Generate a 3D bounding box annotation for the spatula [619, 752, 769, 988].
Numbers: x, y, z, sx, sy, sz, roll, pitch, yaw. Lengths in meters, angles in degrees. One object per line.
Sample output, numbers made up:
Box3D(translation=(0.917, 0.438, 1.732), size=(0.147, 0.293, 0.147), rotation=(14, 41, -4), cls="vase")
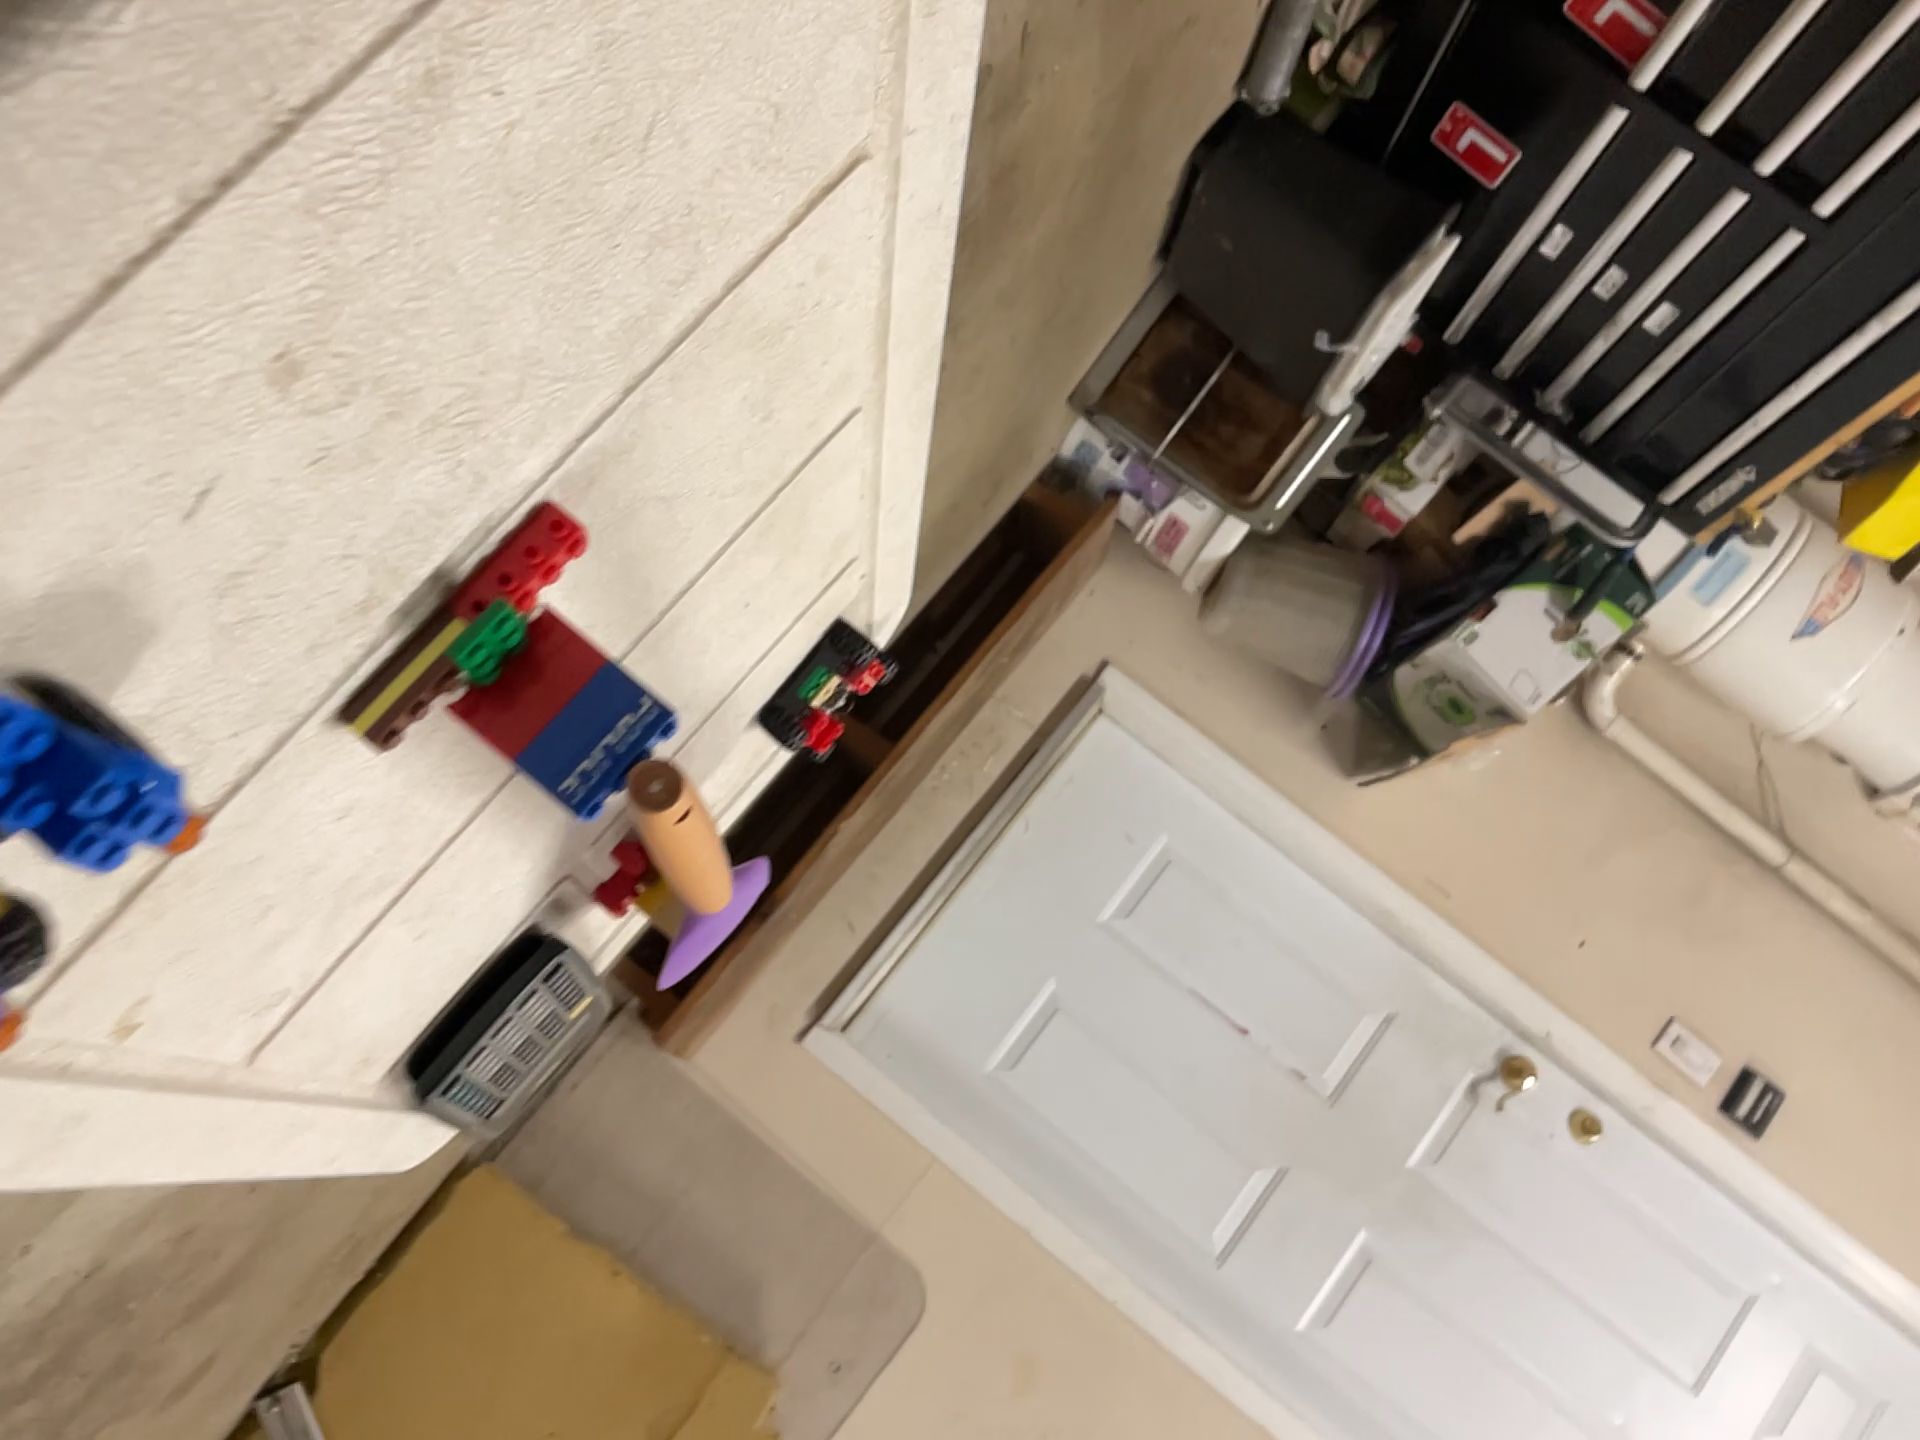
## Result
Box3D(translation=(-0.081, 0.051, 0.493), size=(0.060, 0.018, 0.315), rotation=(-50, 175, -14), cls="spatula")
